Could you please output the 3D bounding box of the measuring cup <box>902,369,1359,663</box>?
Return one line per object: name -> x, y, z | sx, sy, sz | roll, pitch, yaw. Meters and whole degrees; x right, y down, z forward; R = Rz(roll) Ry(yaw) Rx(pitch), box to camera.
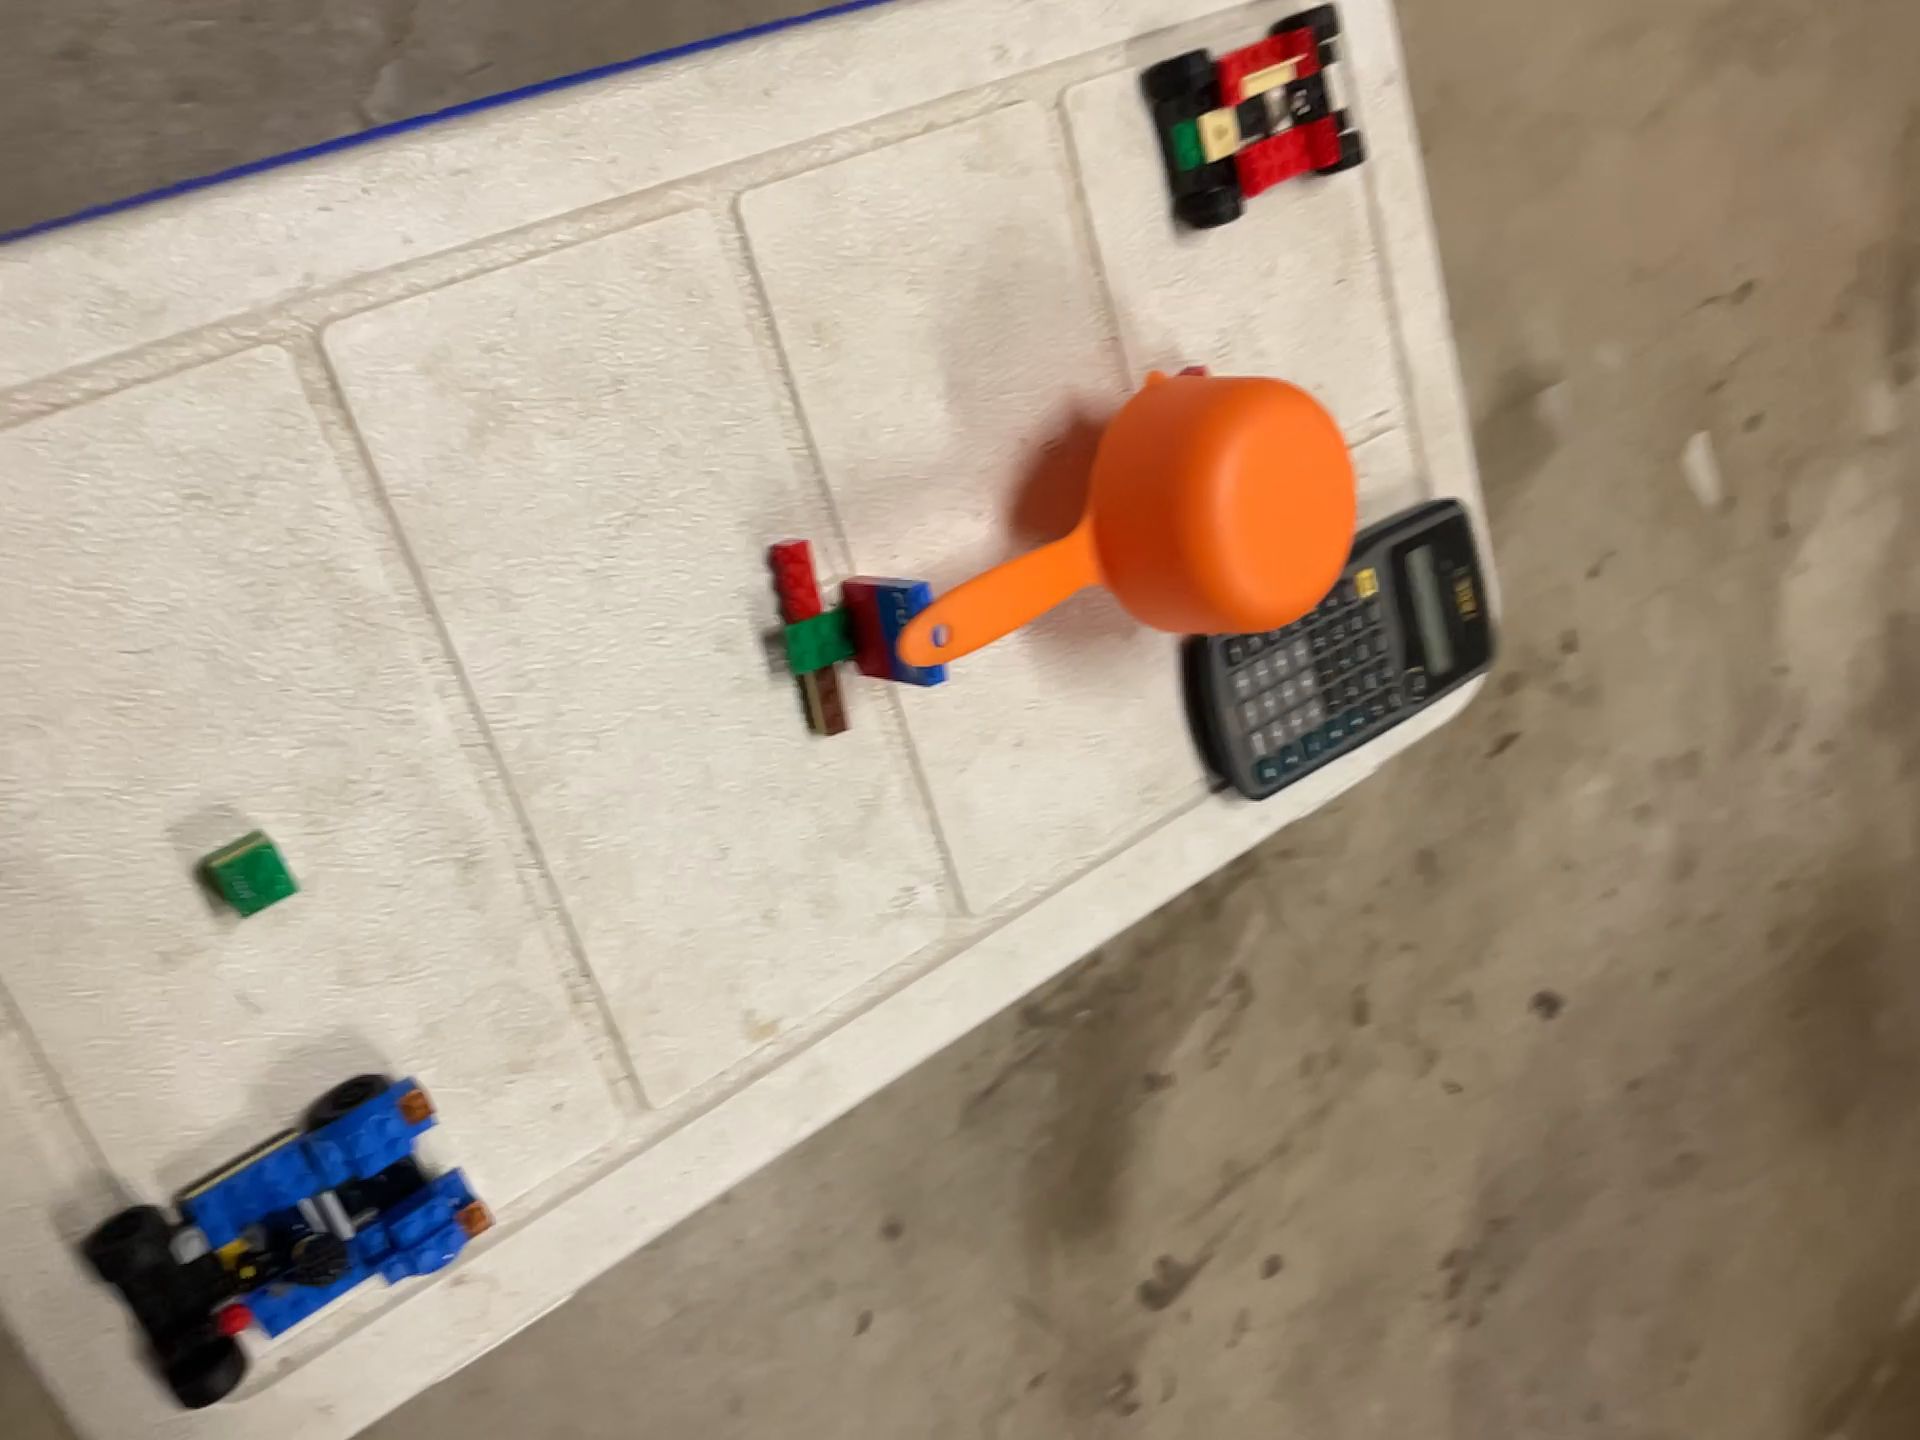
measuring cup -> 0.060, -0.054, 0.506 | 0.173, 0.052, 0.095 | -29, 112, -34
